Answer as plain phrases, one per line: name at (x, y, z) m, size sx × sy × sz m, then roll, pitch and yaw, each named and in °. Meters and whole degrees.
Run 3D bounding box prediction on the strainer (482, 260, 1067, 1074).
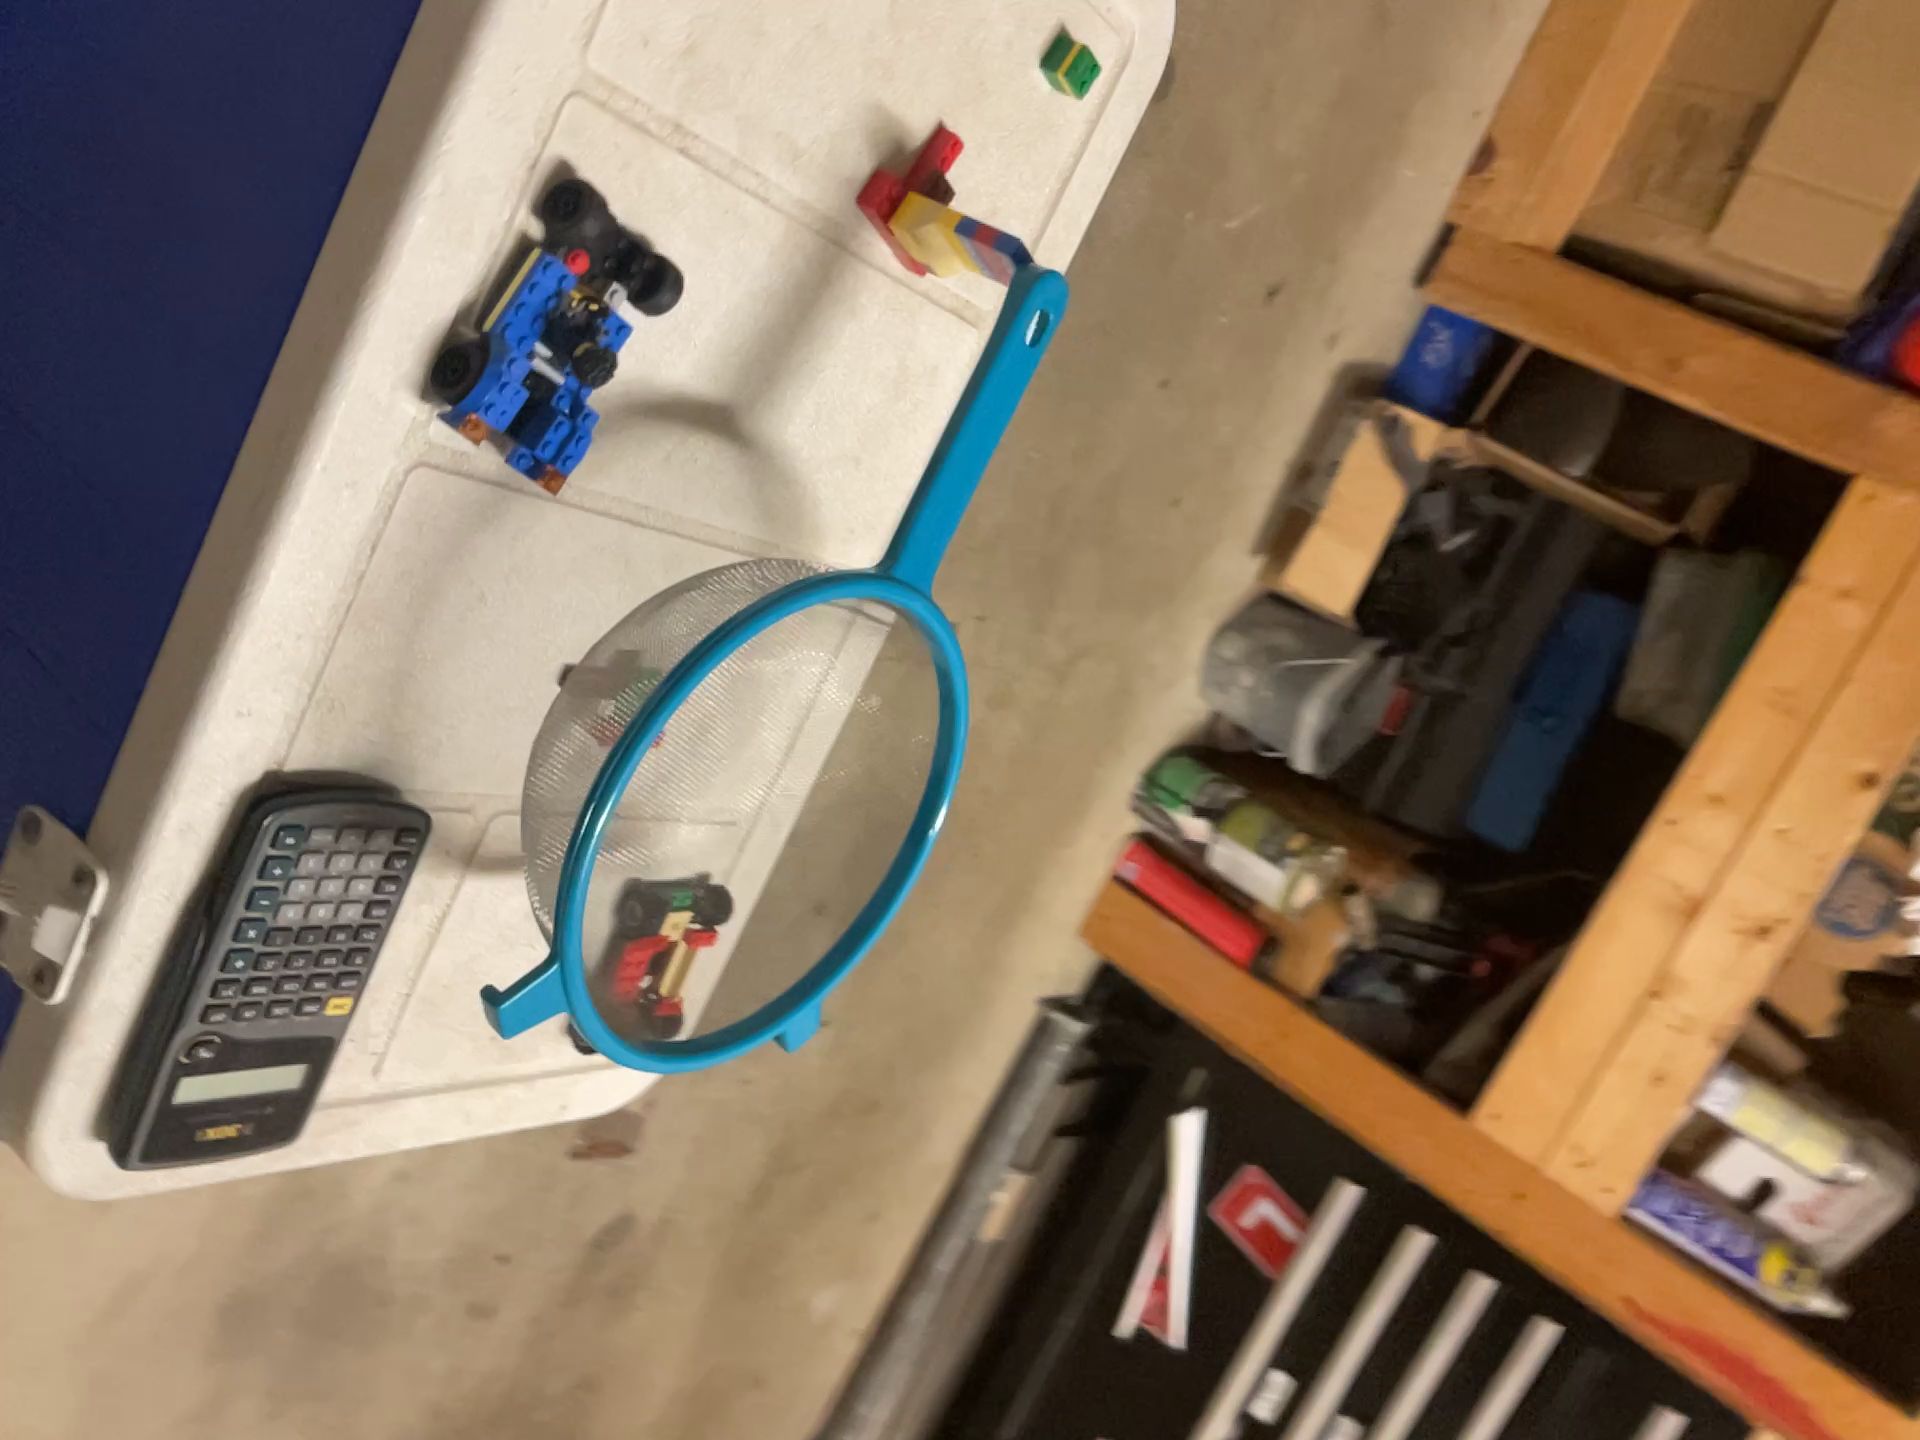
strainer at (-0.069, -0.033, 0.625) m, size 0.210 × 0.095 × 0.340 m, roll 24°, pitch 92°, yaw -59°
